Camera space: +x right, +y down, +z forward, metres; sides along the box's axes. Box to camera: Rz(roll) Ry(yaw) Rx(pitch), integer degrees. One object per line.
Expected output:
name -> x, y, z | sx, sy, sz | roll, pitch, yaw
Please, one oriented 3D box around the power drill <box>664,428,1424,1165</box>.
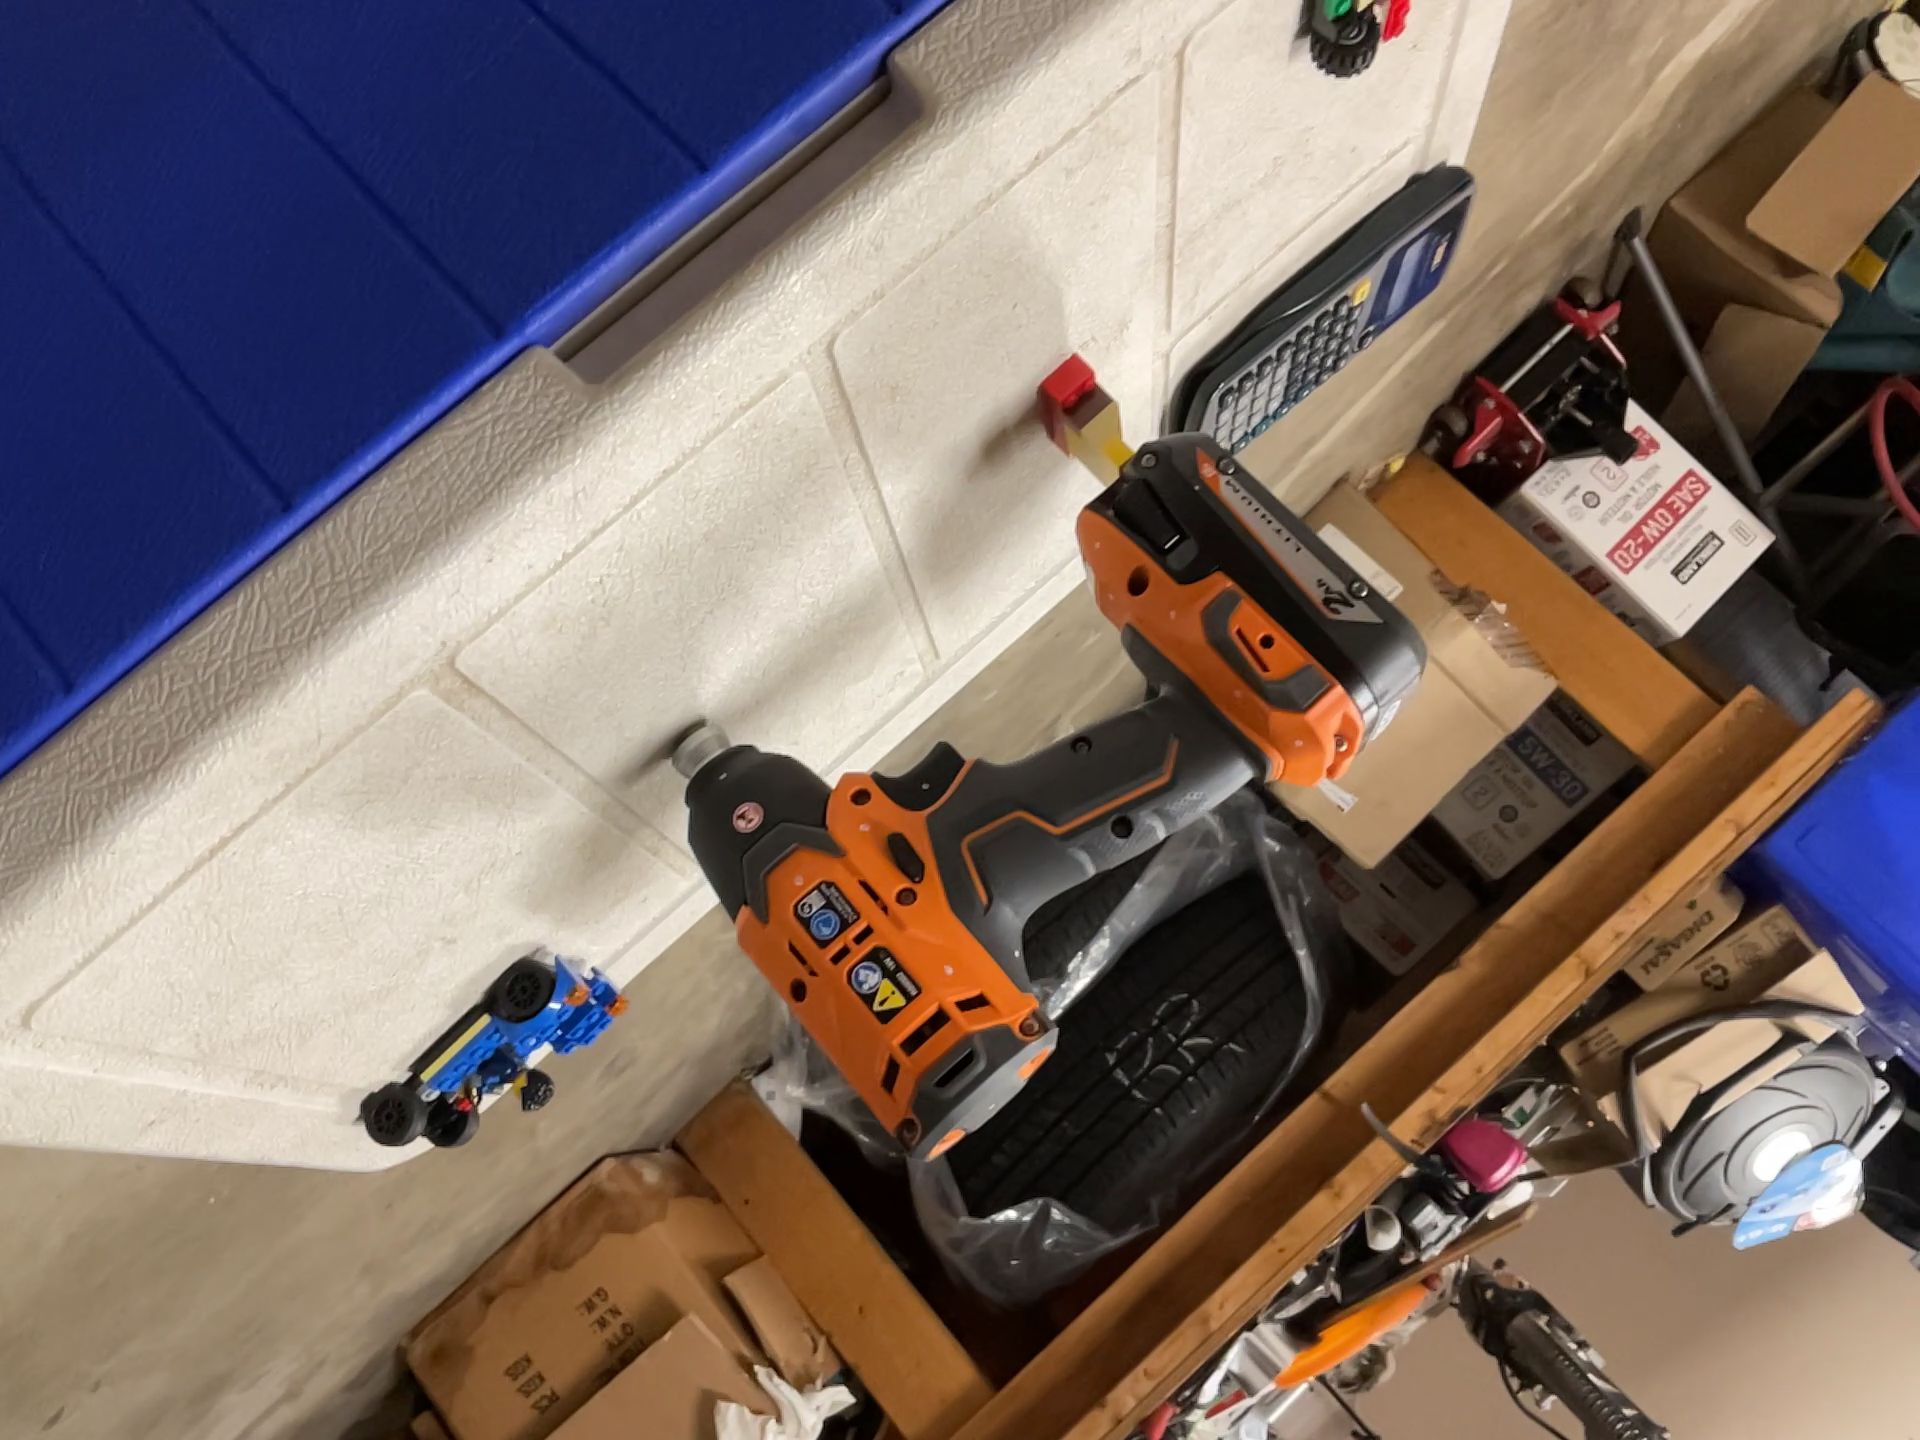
power drill -> 0.019, 0.010, 0.530 | 0.226, 0.164, 0.084 | -41, 164, -6
